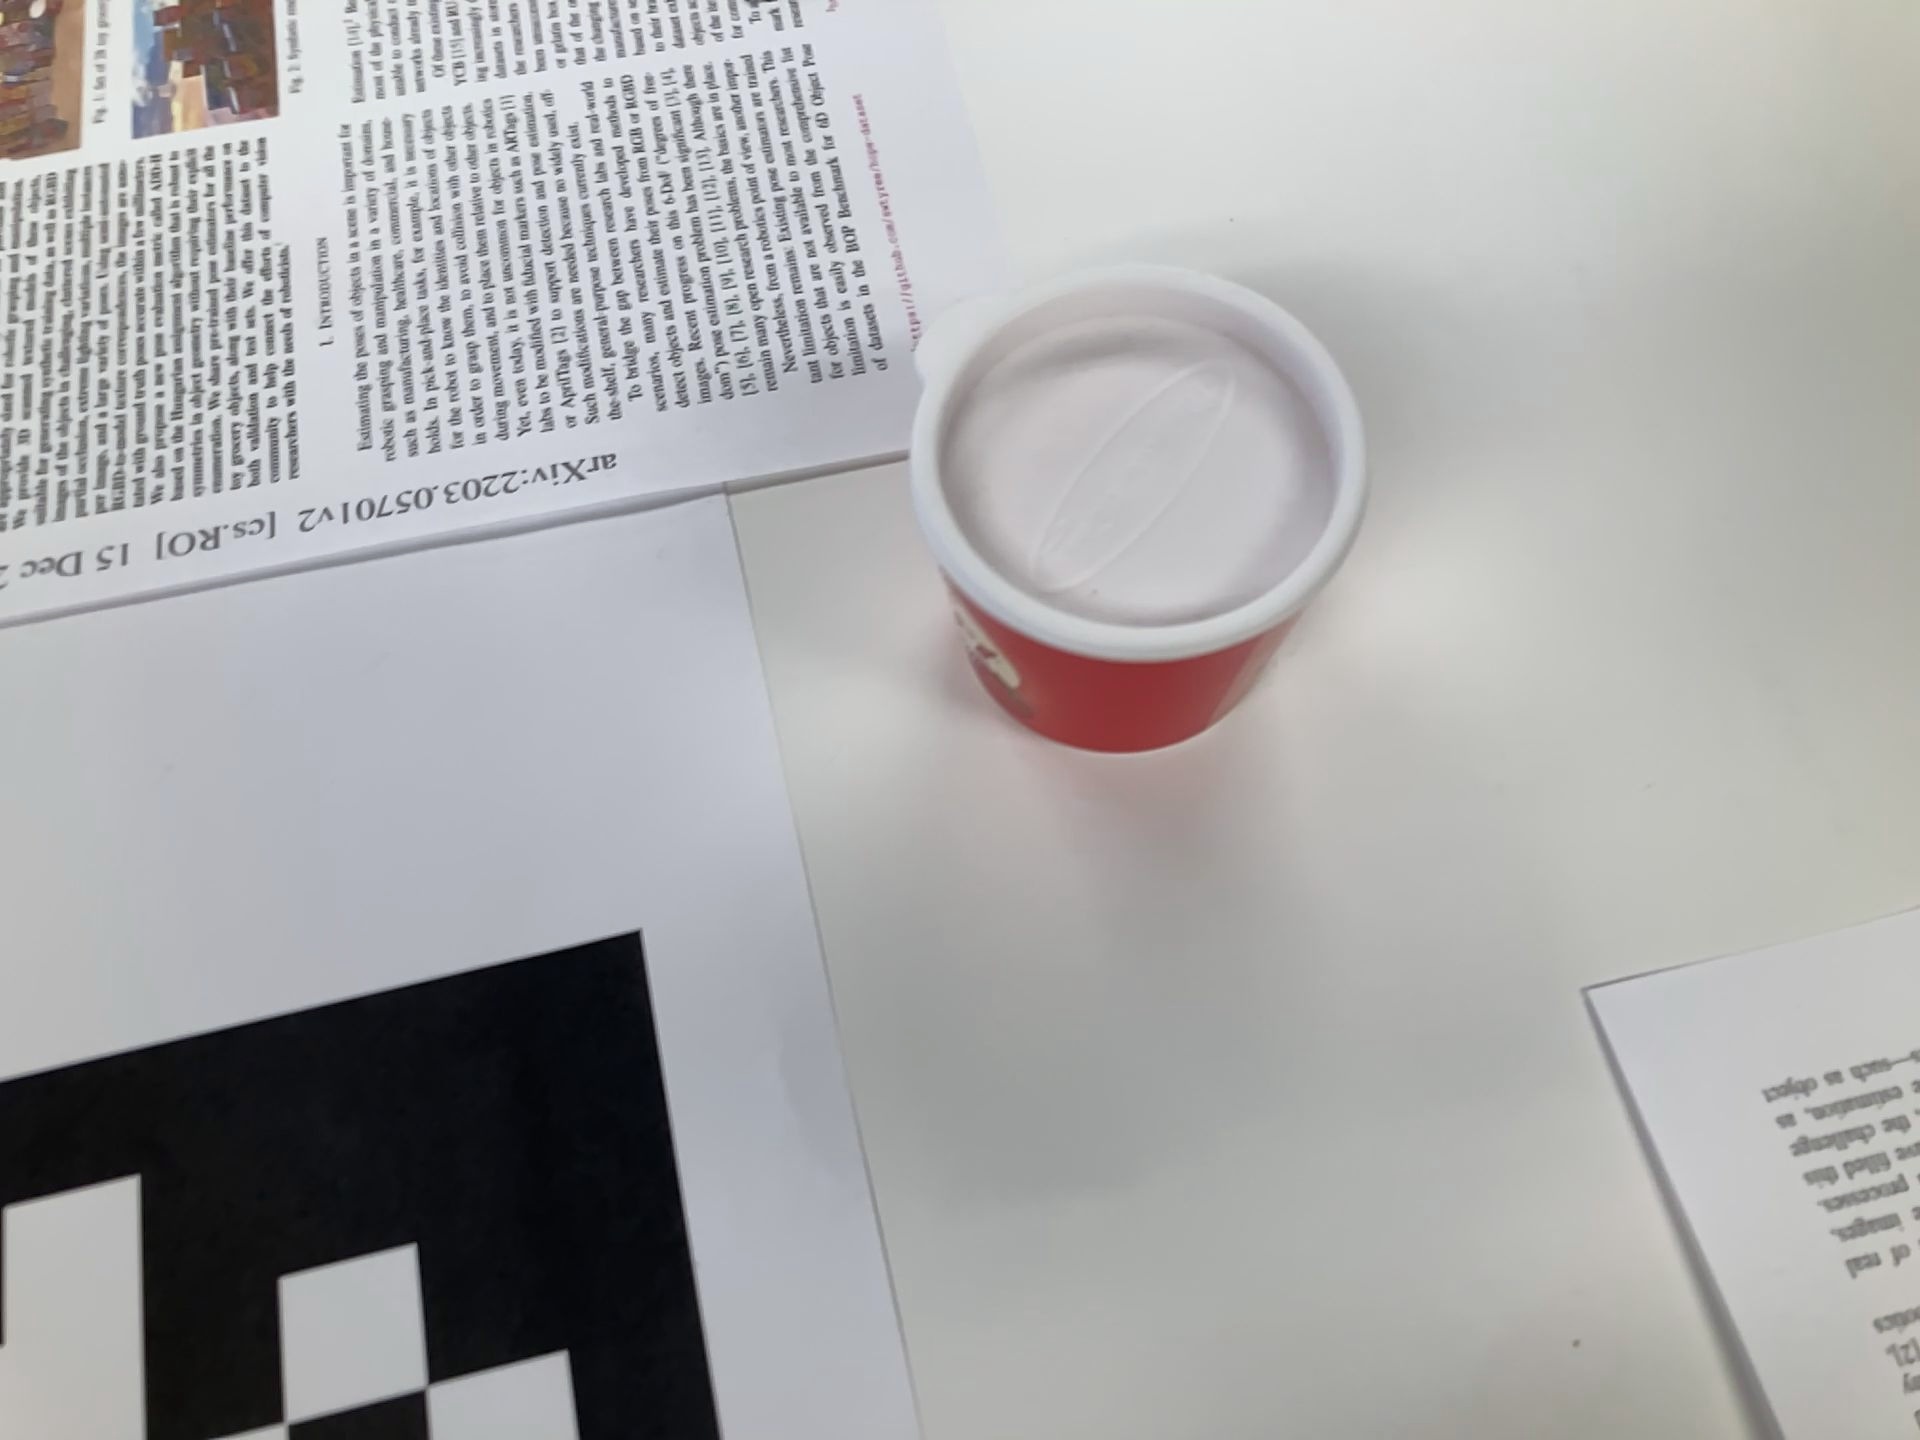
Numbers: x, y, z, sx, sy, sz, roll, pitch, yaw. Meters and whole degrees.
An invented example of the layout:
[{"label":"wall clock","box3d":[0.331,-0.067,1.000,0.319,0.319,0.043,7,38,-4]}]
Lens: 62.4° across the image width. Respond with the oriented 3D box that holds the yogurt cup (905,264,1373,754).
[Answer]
[{"label":"yogurt cup","box3d":[0.026,-0.029,0.253,0.072,0.054,0.072,0,66,0]}]
